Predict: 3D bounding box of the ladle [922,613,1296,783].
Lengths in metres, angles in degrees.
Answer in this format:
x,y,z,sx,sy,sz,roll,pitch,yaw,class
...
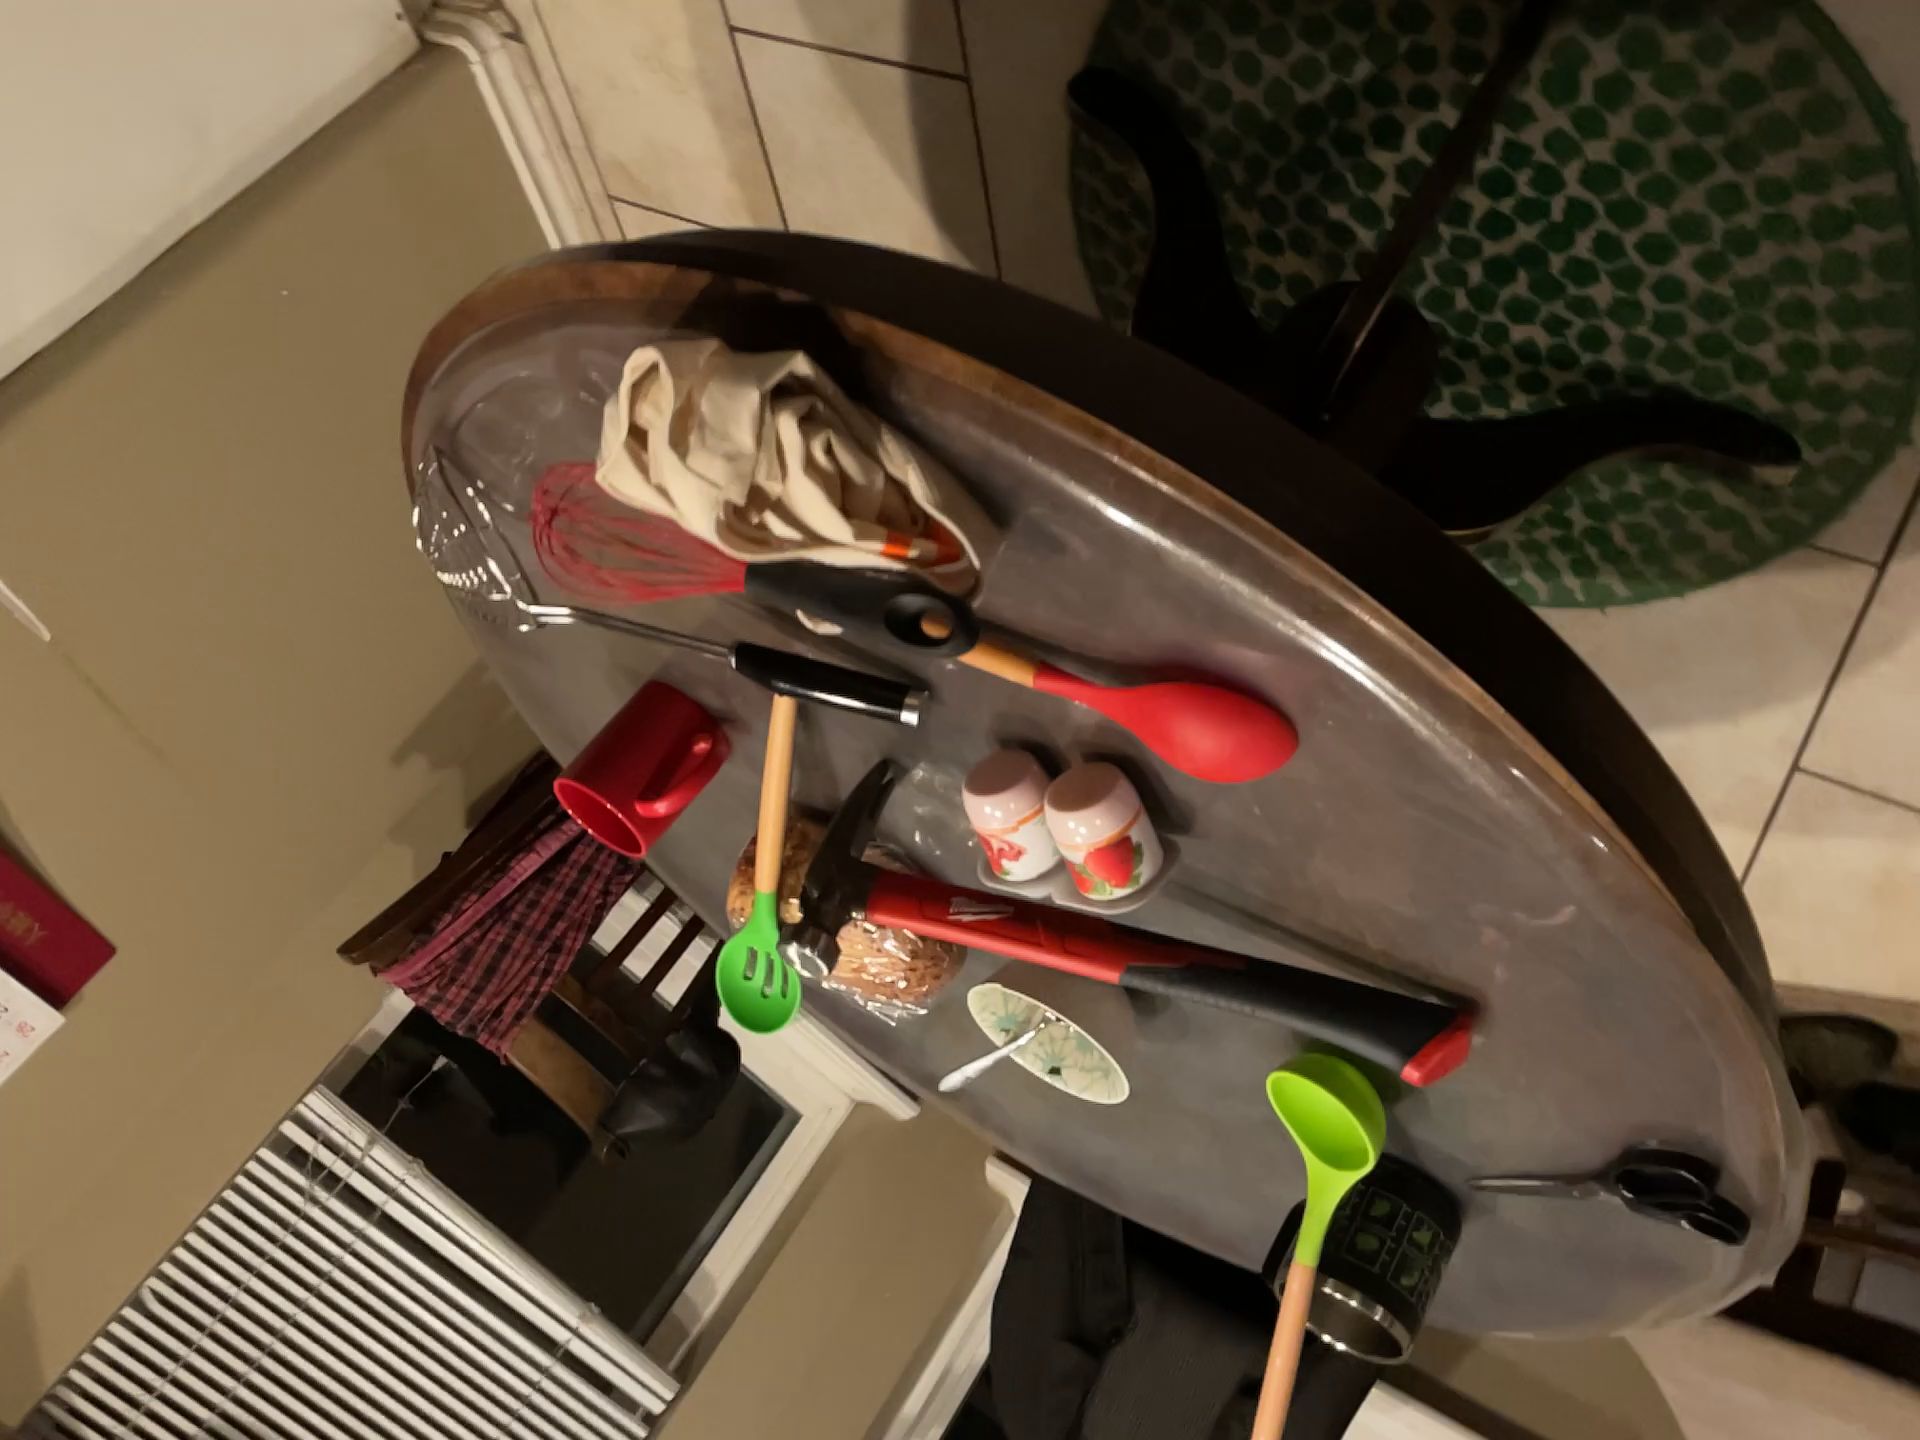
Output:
x,y,z,sx,sy,sz,roll,pitch,yaw,class
0.019,-0.034,0.797,0.316,0.031,0.069,24,150,29,ladle

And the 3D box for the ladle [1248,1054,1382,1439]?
x,y,z,sx,sy,sz,roll,pitch,yaw,class
0.195,0.355,0.963,0.062,0.320,0.078,3,-168,-39,ladle

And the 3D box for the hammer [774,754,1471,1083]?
x,y,z,sx,sy,sz,roll,pitch,yaw,class
0.091,0.118,0.900,0.386,0.143,0.038,11,147,21,hammer

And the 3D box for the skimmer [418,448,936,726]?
x,y,z,sx,sy,sz,roll,pitch,yaw,class
-0.174,-0.078,0.955,0.363,0.090,0.127,15,156,17,skimmer

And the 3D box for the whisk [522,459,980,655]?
x,y,z,sx,sy,sz,roll,pitch,yaw,class
-0.113,-0.077,0.776,0.296,0.073,0.073,18,146,33,whisk

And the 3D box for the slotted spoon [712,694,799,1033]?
x,y,z,sx,sy,sz,roll,pitch,yaw,class
-0.126,0.091,1.057,0.070,0.031,0.313,23,128,16,slotted spoon
